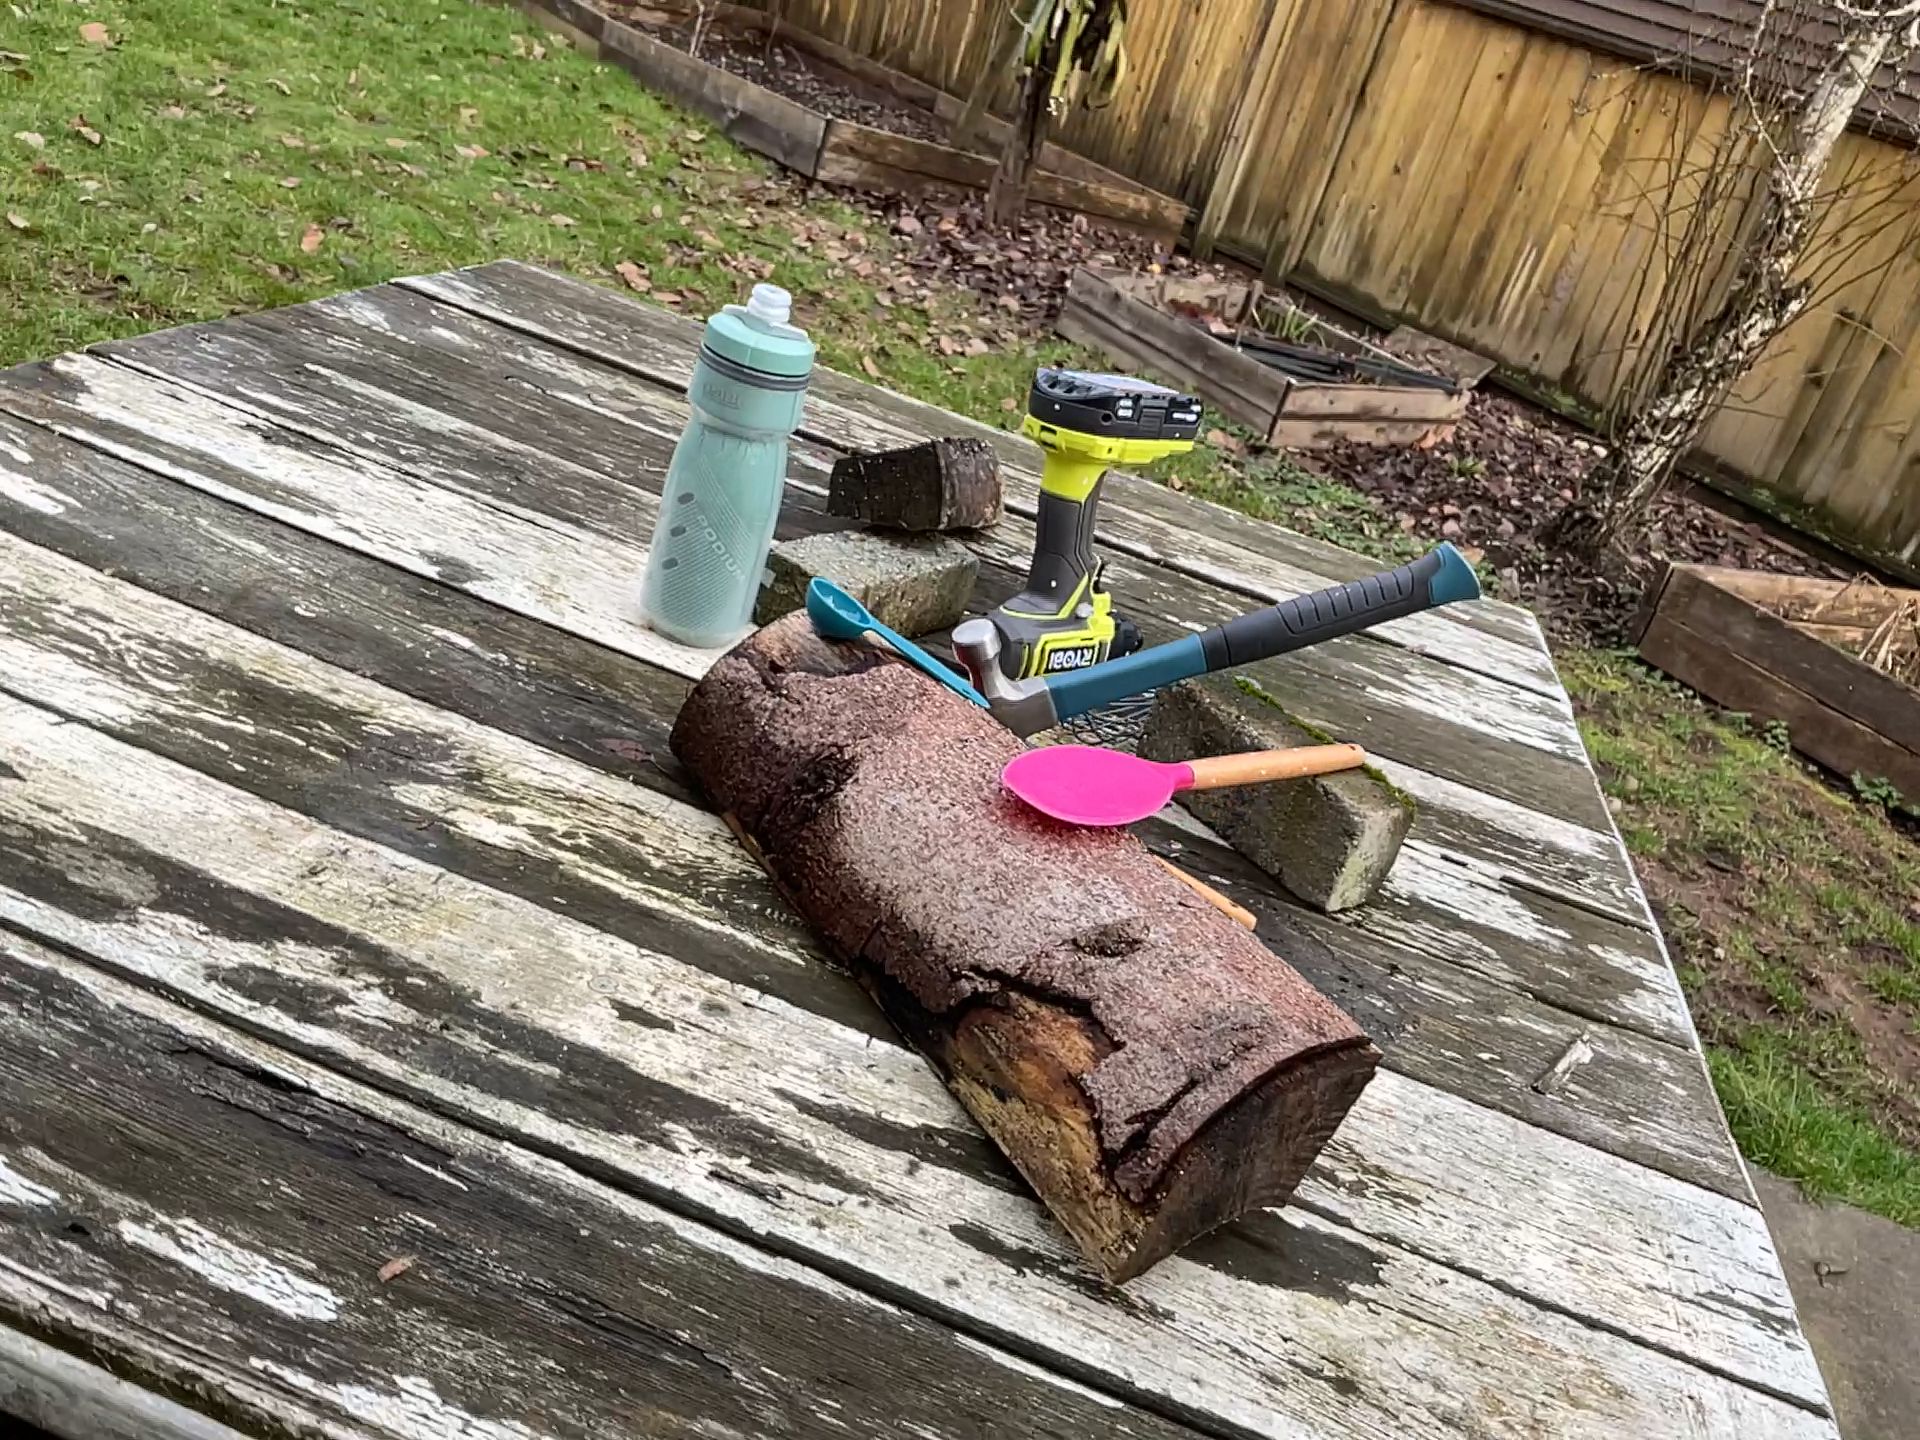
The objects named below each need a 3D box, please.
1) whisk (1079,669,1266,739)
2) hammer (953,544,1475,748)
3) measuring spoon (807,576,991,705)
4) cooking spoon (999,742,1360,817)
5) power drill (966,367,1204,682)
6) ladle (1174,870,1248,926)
[{"bbox_3d":[0.157,-0.020,1.158,0.238,0.055,0.055,-7,42,-48],"label":"whisk"},{"bbox_3d":[0.169,-0.047,1.022,0.331,0.128,0.033,-17,32,0],"label":"hammer"},{"bbox_3d":[-0.037,-0.038,0.913,0.128,0.021,0.042,34,19,-20],"label":"measuring spoon"},{"bbox_3d":[0.137,0.030,0.885,0.318,0.017,0.069,-3,31,-46],"label":"cooking spoon"},{"bbox_3d":[0.095,-0.133,1.152,0.080,0.223,0.171,28,24,38],"label":"power drill"},{"bbox_3d":[0.037,0.045,0.978,0.316,0.031,0.069,30,25,19],"label":"ladle"}]
